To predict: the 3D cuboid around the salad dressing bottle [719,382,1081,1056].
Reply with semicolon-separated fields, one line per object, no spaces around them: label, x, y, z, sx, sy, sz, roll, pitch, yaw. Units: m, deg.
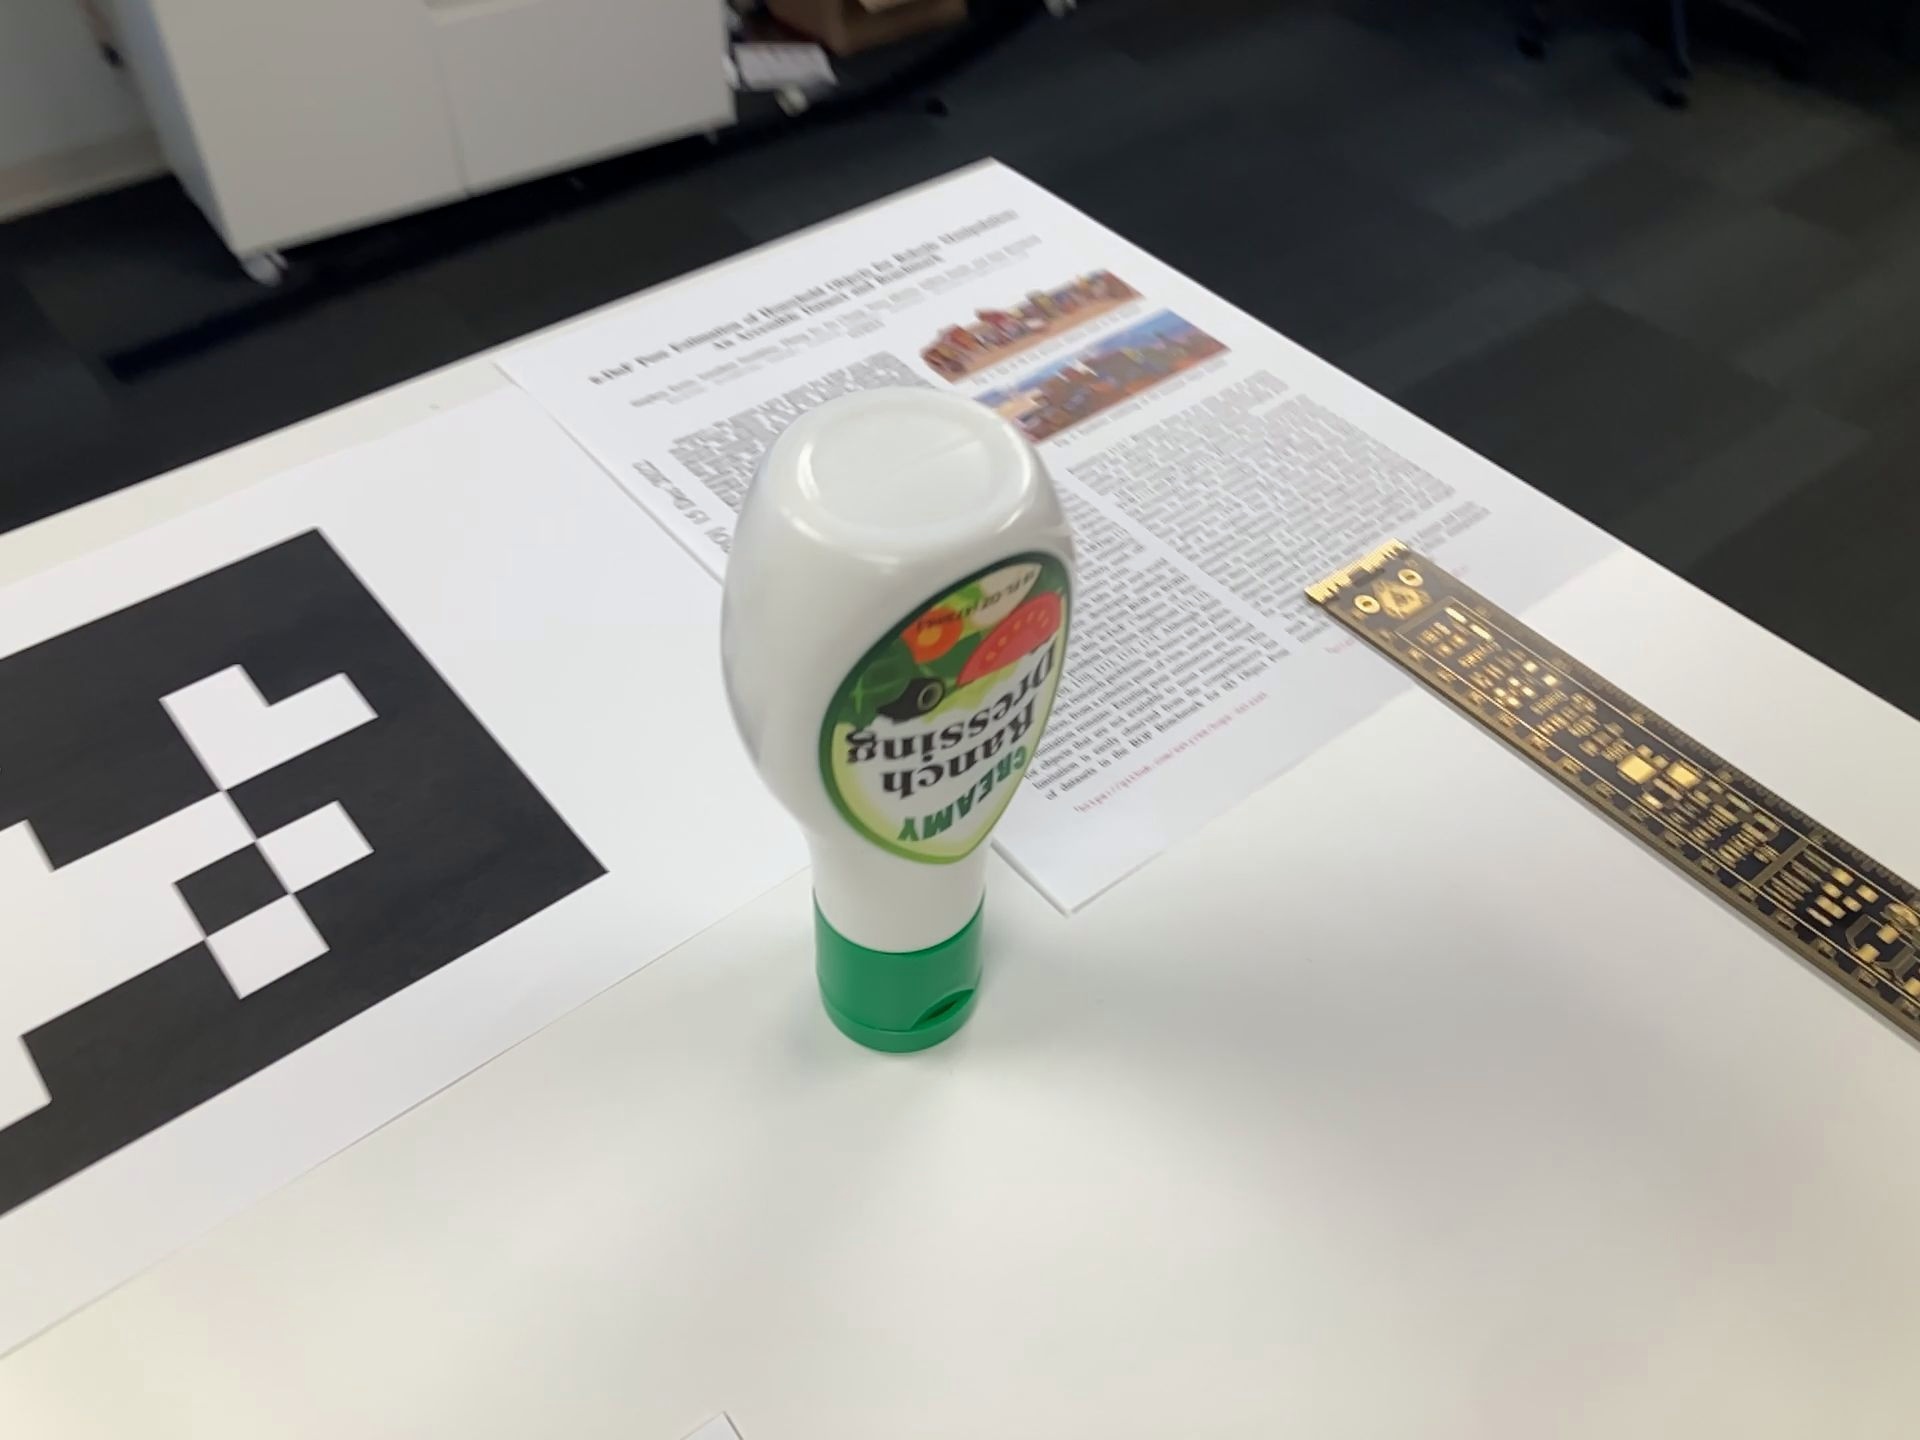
salad dressing bottle;-0.011;0.009;0.301;0.064;0.147;0.044;-28;54;-25
